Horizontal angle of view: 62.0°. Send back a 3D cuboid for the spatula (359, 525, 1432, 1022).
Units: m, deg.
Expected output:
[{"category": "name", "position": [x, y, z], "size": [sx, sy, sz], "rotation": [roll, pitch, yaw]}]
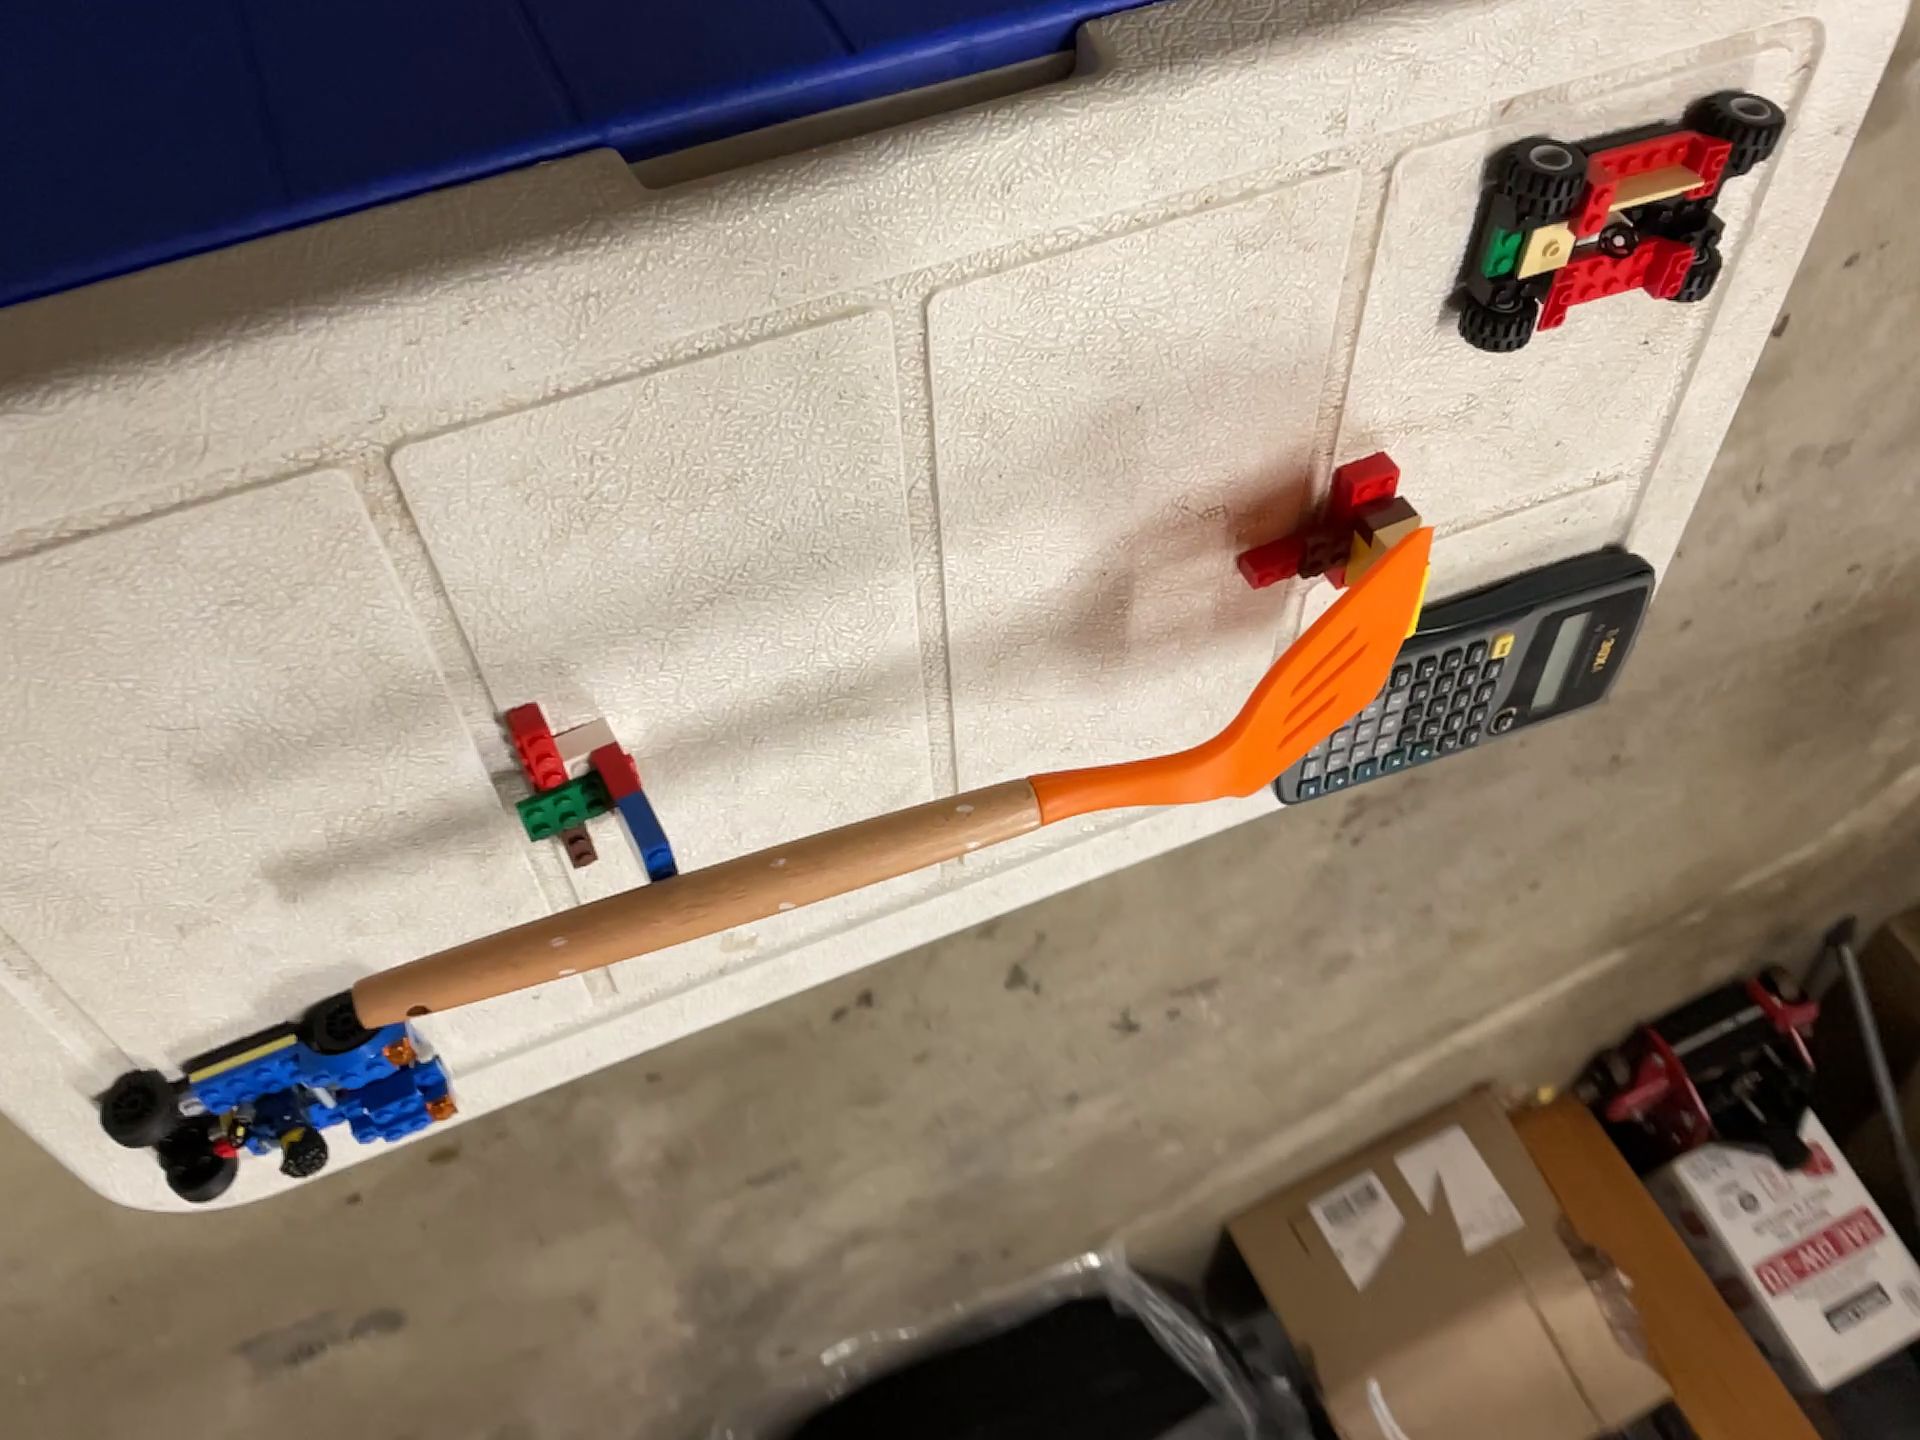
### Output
[{"category": "spatula", "position": [-0.005, 0.022, 0.451], "size": [0.322, 0.041, 0.081], "rotation": [-16, 144, -11]}]
